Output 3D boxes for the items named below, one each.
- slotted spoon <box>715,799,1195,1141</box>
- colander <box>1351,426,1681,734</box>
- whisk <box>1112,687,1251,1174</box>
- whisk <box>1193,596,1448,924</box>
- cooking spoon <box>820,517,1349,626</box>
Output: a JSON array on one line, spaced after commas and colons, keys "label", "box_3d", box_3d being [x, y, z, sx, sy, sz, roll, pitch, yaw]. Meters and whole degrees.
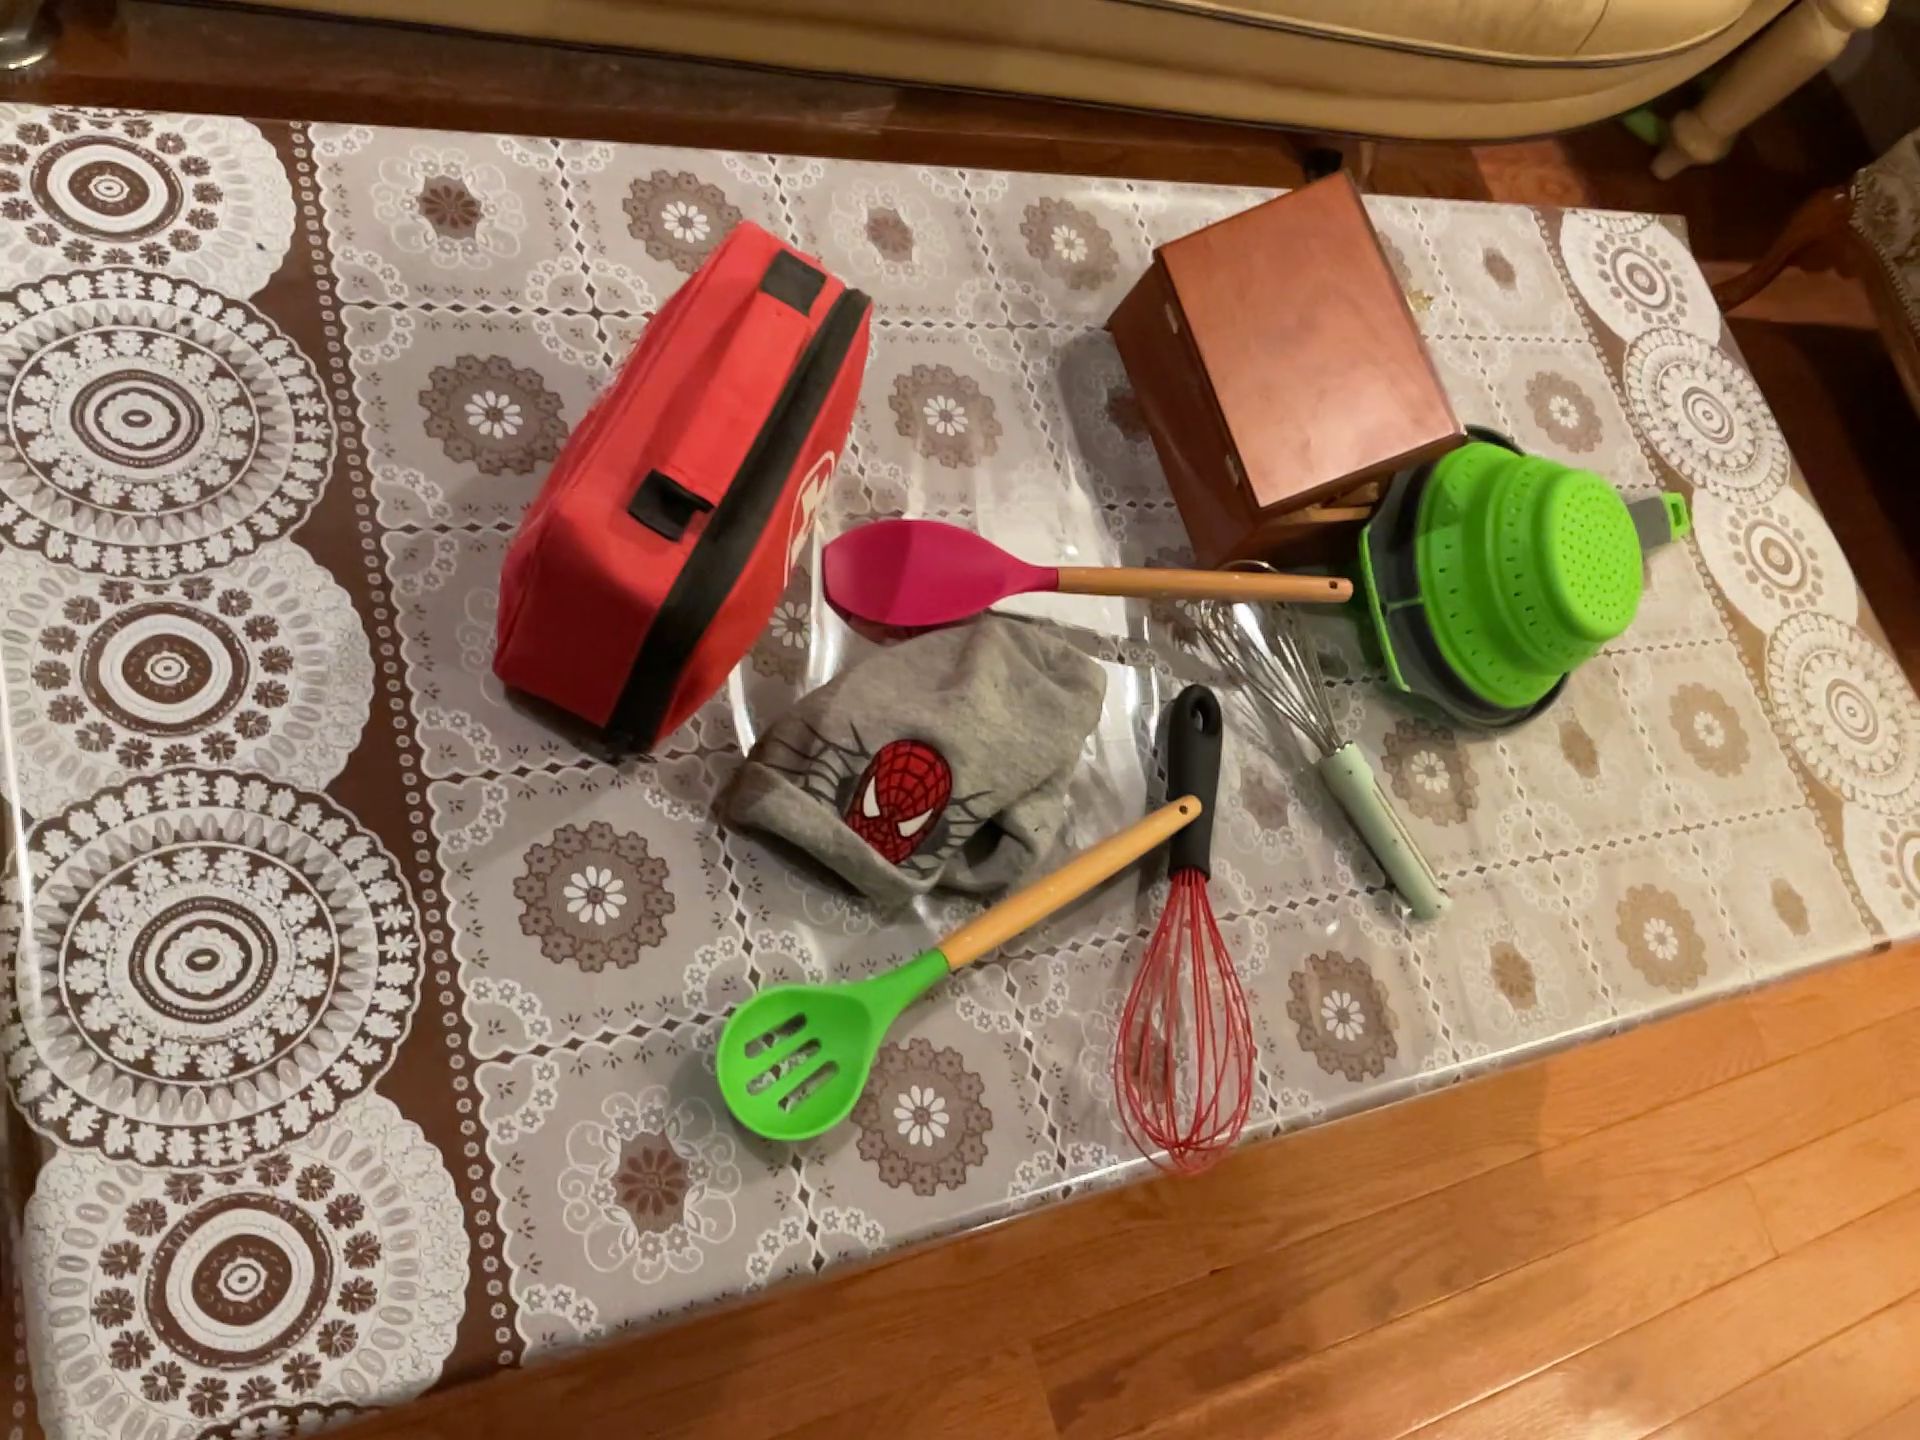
[{"label": "slotted spoon", "box_3d": [0.009, 0.112, 0.797, 0.314, 0.031, 0.070, -28, 80, -32]}, {"label": "colander", "box_3d": [0.421, -0.115, 1.067, 0.397, 0.094, 0.204, -17, 94, -39]}, {"label": "whisk", "box_3d": [0.123, 0.101, 0.859, 0.073, 0.073, 0.296, 17, 53, -12]}, {"label": "whisk", "box_3d": [0.219, 0.016, 0.961, 0.058, 0.059, 0.246, -33, 84, 7]}, {"label": "cooking spoon", "box_3d": [0.077, -0.079, 0.913, 0.318, 0.017, 0.069, 1, 67, -15]}]
